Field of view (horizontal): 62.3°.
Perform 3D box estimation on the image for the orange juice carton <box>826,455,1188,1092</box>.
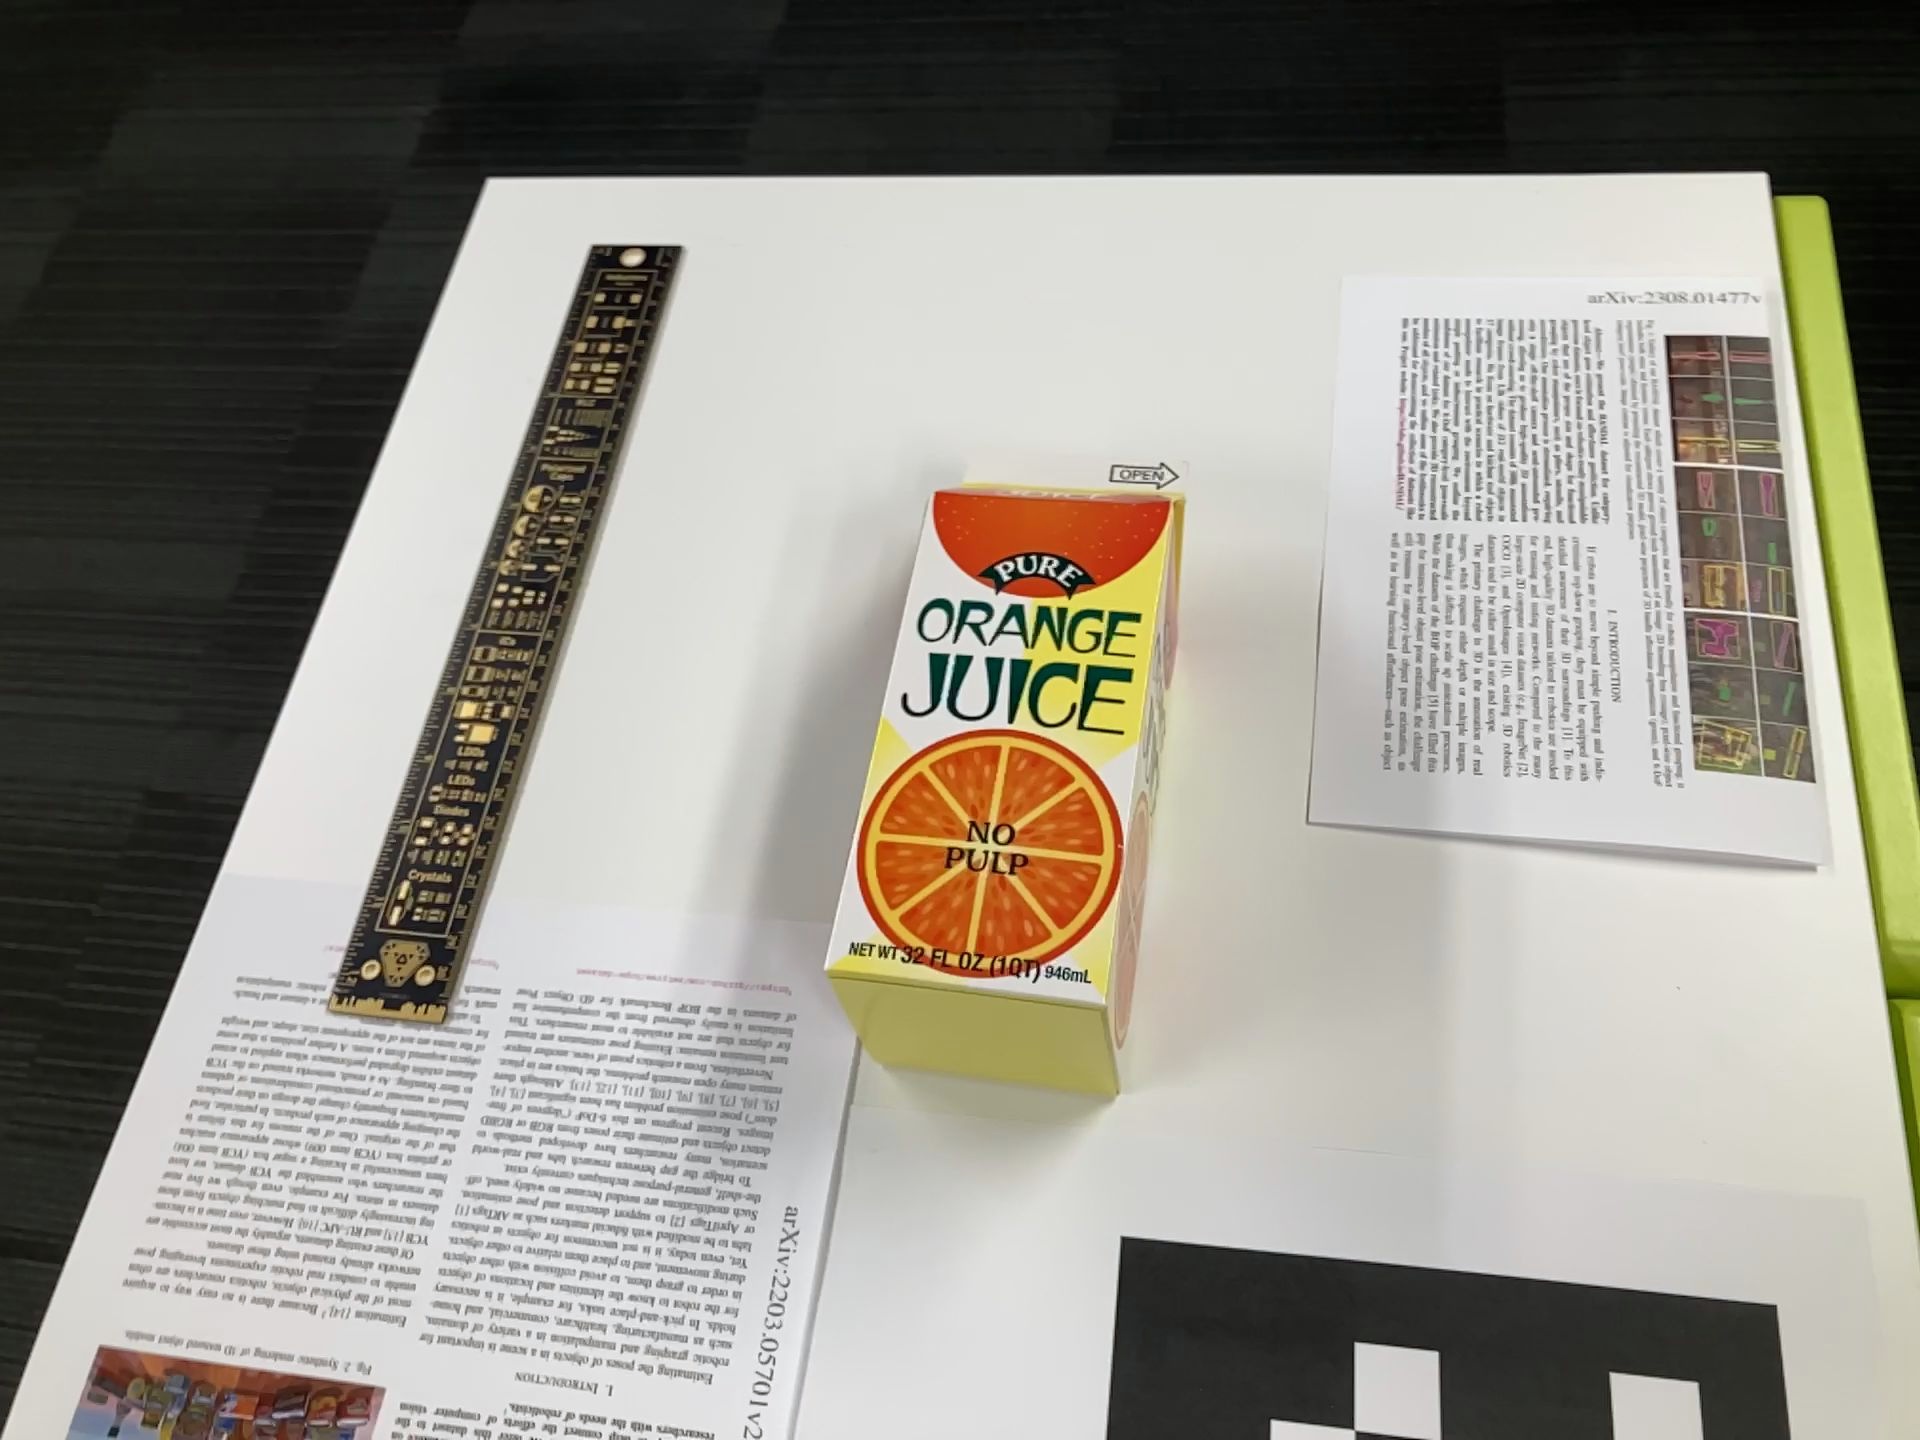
[{"bbox_3d":[0.021,0.001,0.460,0.072,0.073,0.192,5,62,12],"label":"orange juice carton"}]
